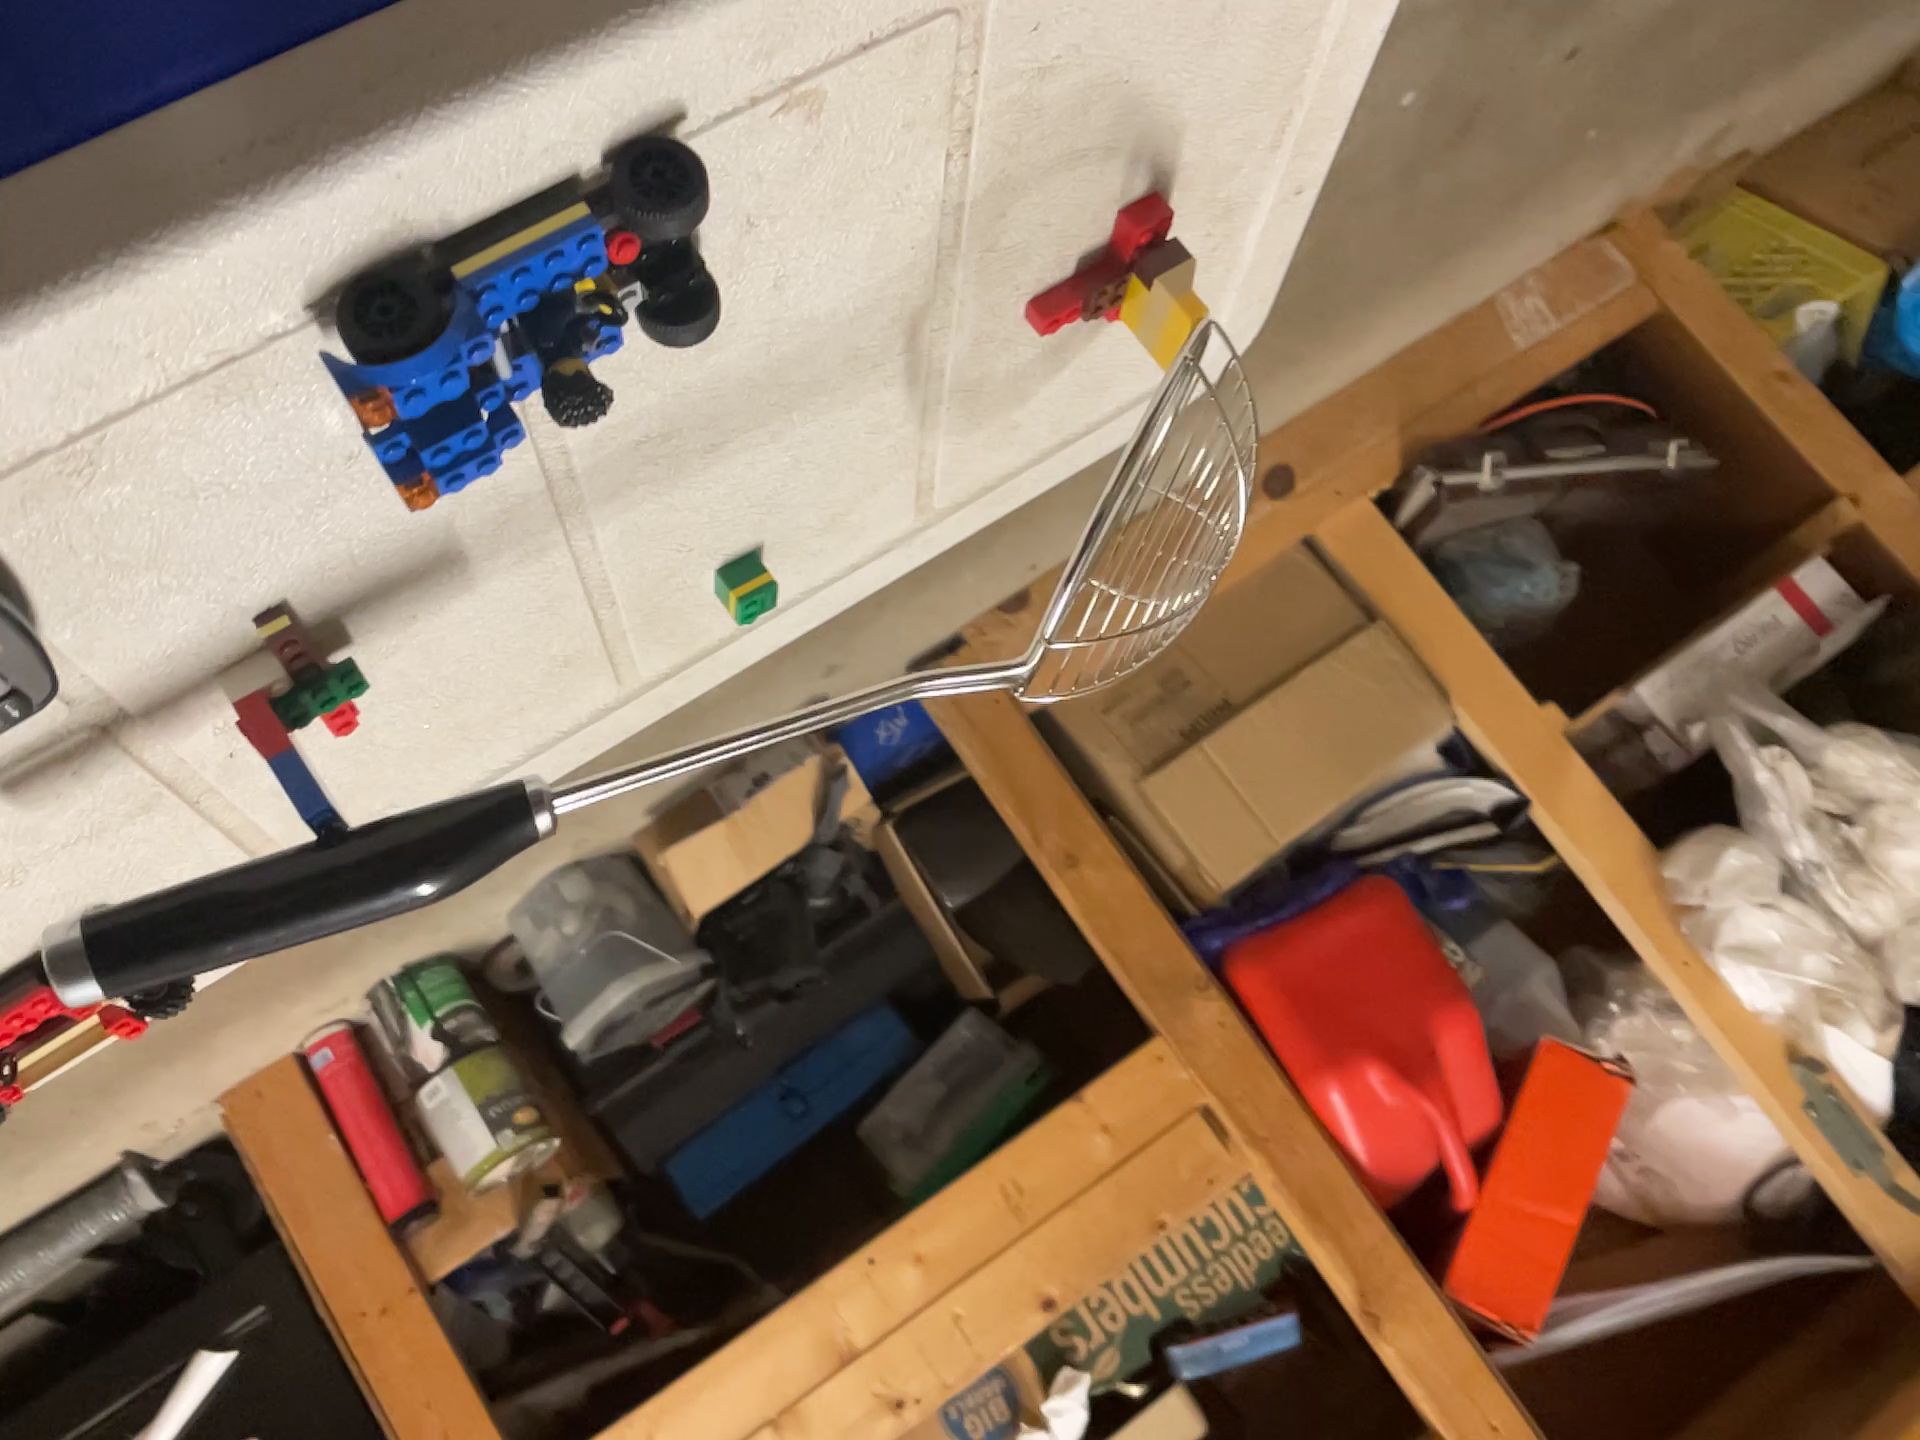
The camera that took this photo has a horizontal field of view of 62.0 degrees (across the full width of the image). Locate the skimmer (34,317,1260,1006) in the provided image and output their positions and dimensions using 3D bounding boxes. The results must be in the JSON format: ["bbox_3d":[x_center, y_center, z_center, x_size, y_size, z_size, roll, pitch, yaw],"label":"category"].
[{"bbox_3d":[-0.070,-0.021,0.454,0.363,0.090,0.127,-19,161,-17],"label":"skimmer"}]
